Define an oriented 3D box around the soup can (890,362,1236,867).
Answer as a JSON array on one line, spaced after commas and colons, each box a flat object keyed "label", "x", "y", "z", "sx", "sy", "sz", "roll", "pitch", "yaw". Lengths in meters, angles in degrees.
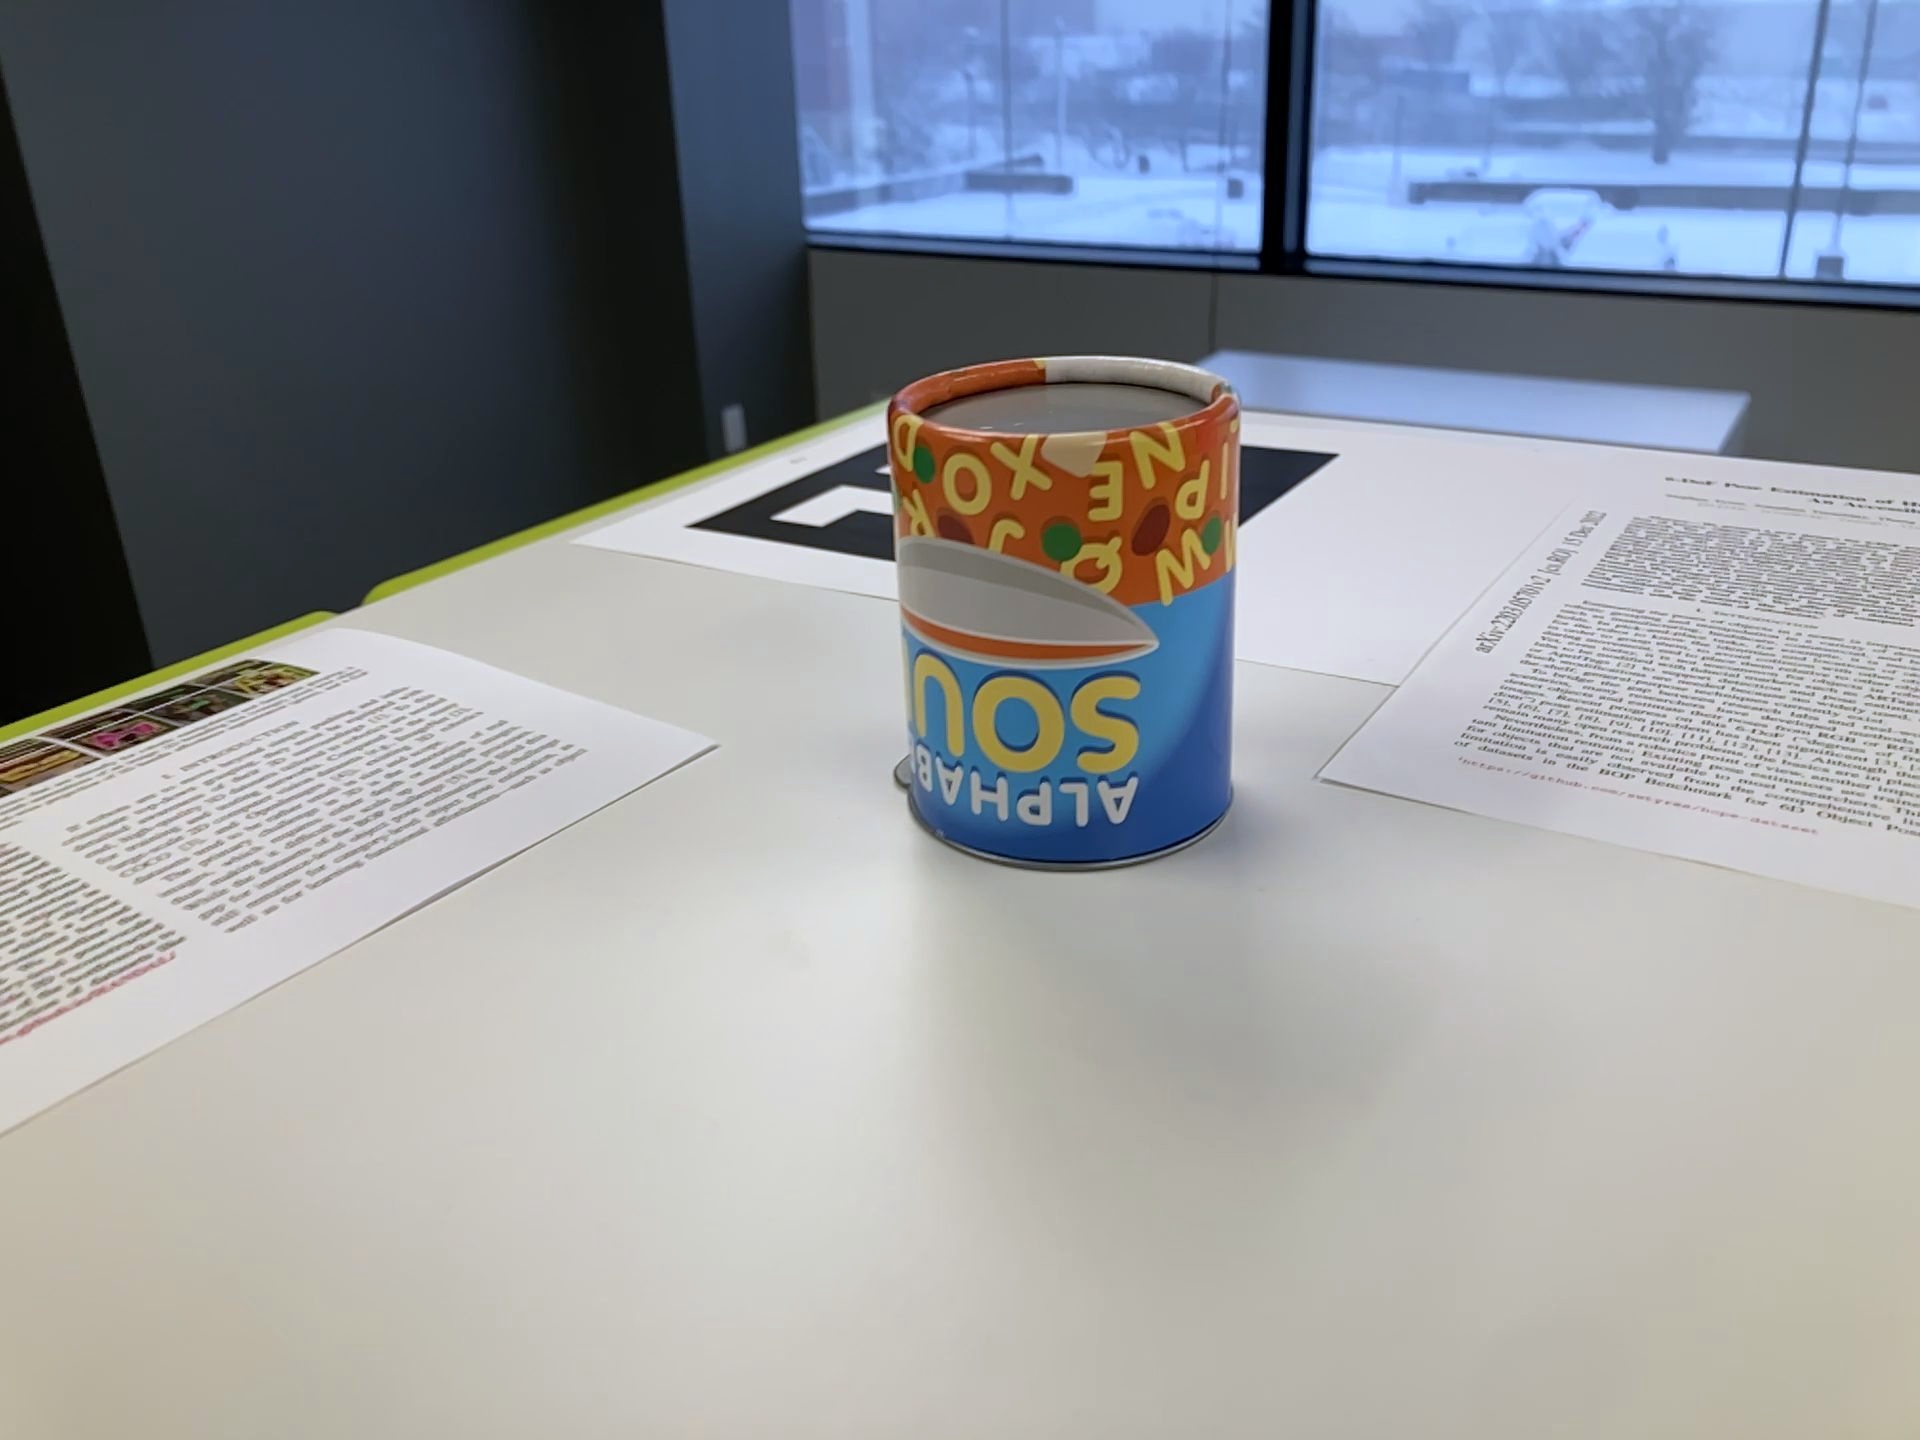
[{"label": "soup can", "x": 0.019, "y": -0.022, "z": 0.312, "sx": 0.071, "sy": 0.084, "sz": 0.071, "roll": -3, "pitch": 23, "yaw": 1}]
